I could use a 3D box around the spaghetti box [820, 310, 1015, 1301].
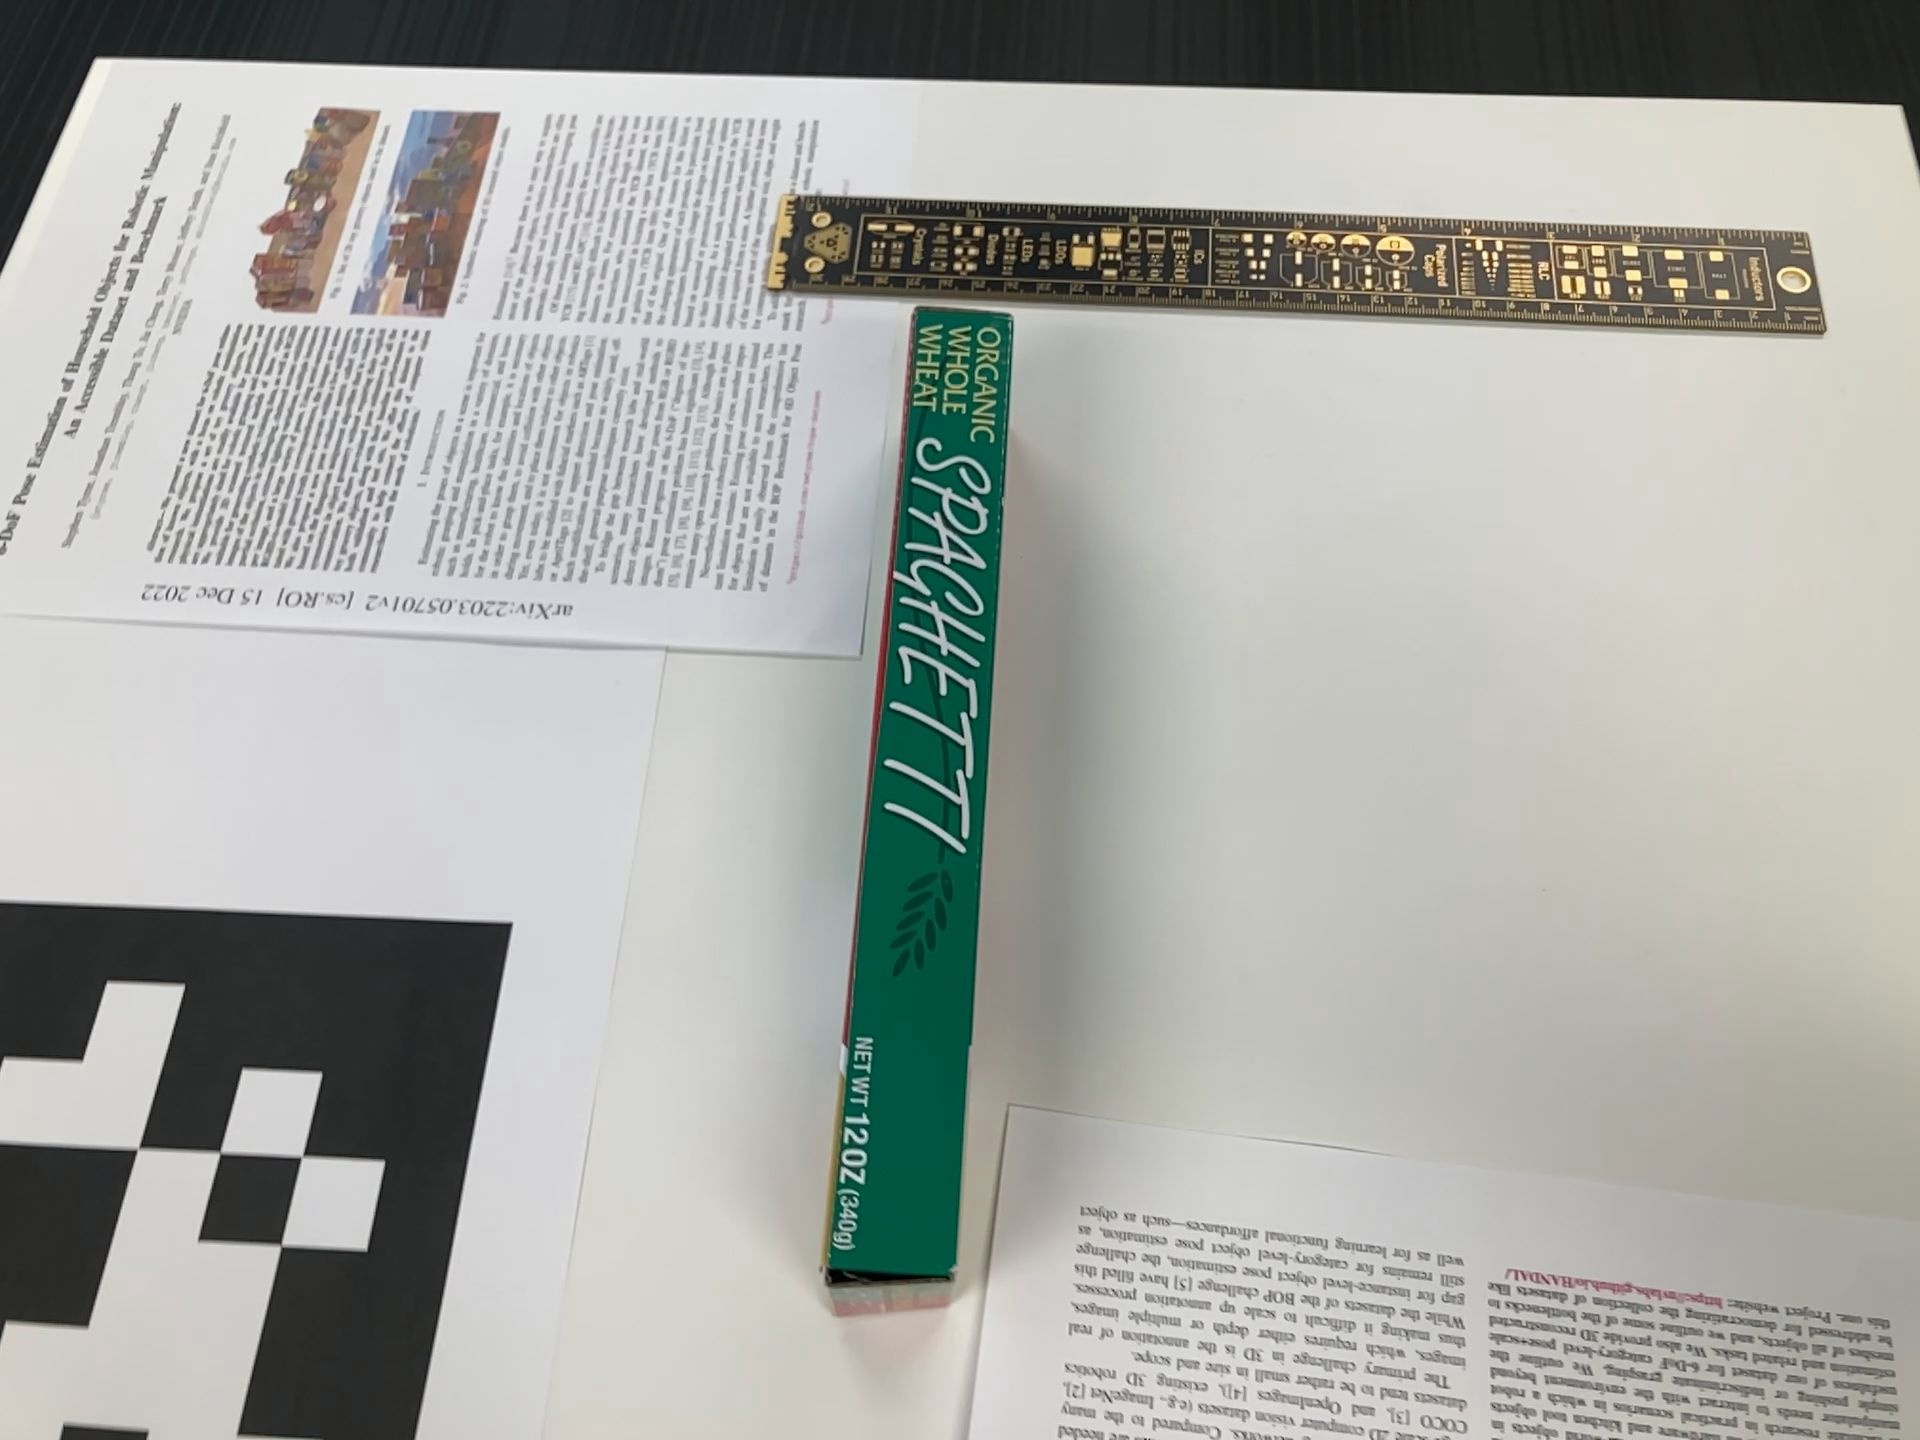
[{"bbox_3d":[-0.008,0.011,0.395,0.028,0.050,0.250,4,64,0],"label":"spaghetti box"}]
